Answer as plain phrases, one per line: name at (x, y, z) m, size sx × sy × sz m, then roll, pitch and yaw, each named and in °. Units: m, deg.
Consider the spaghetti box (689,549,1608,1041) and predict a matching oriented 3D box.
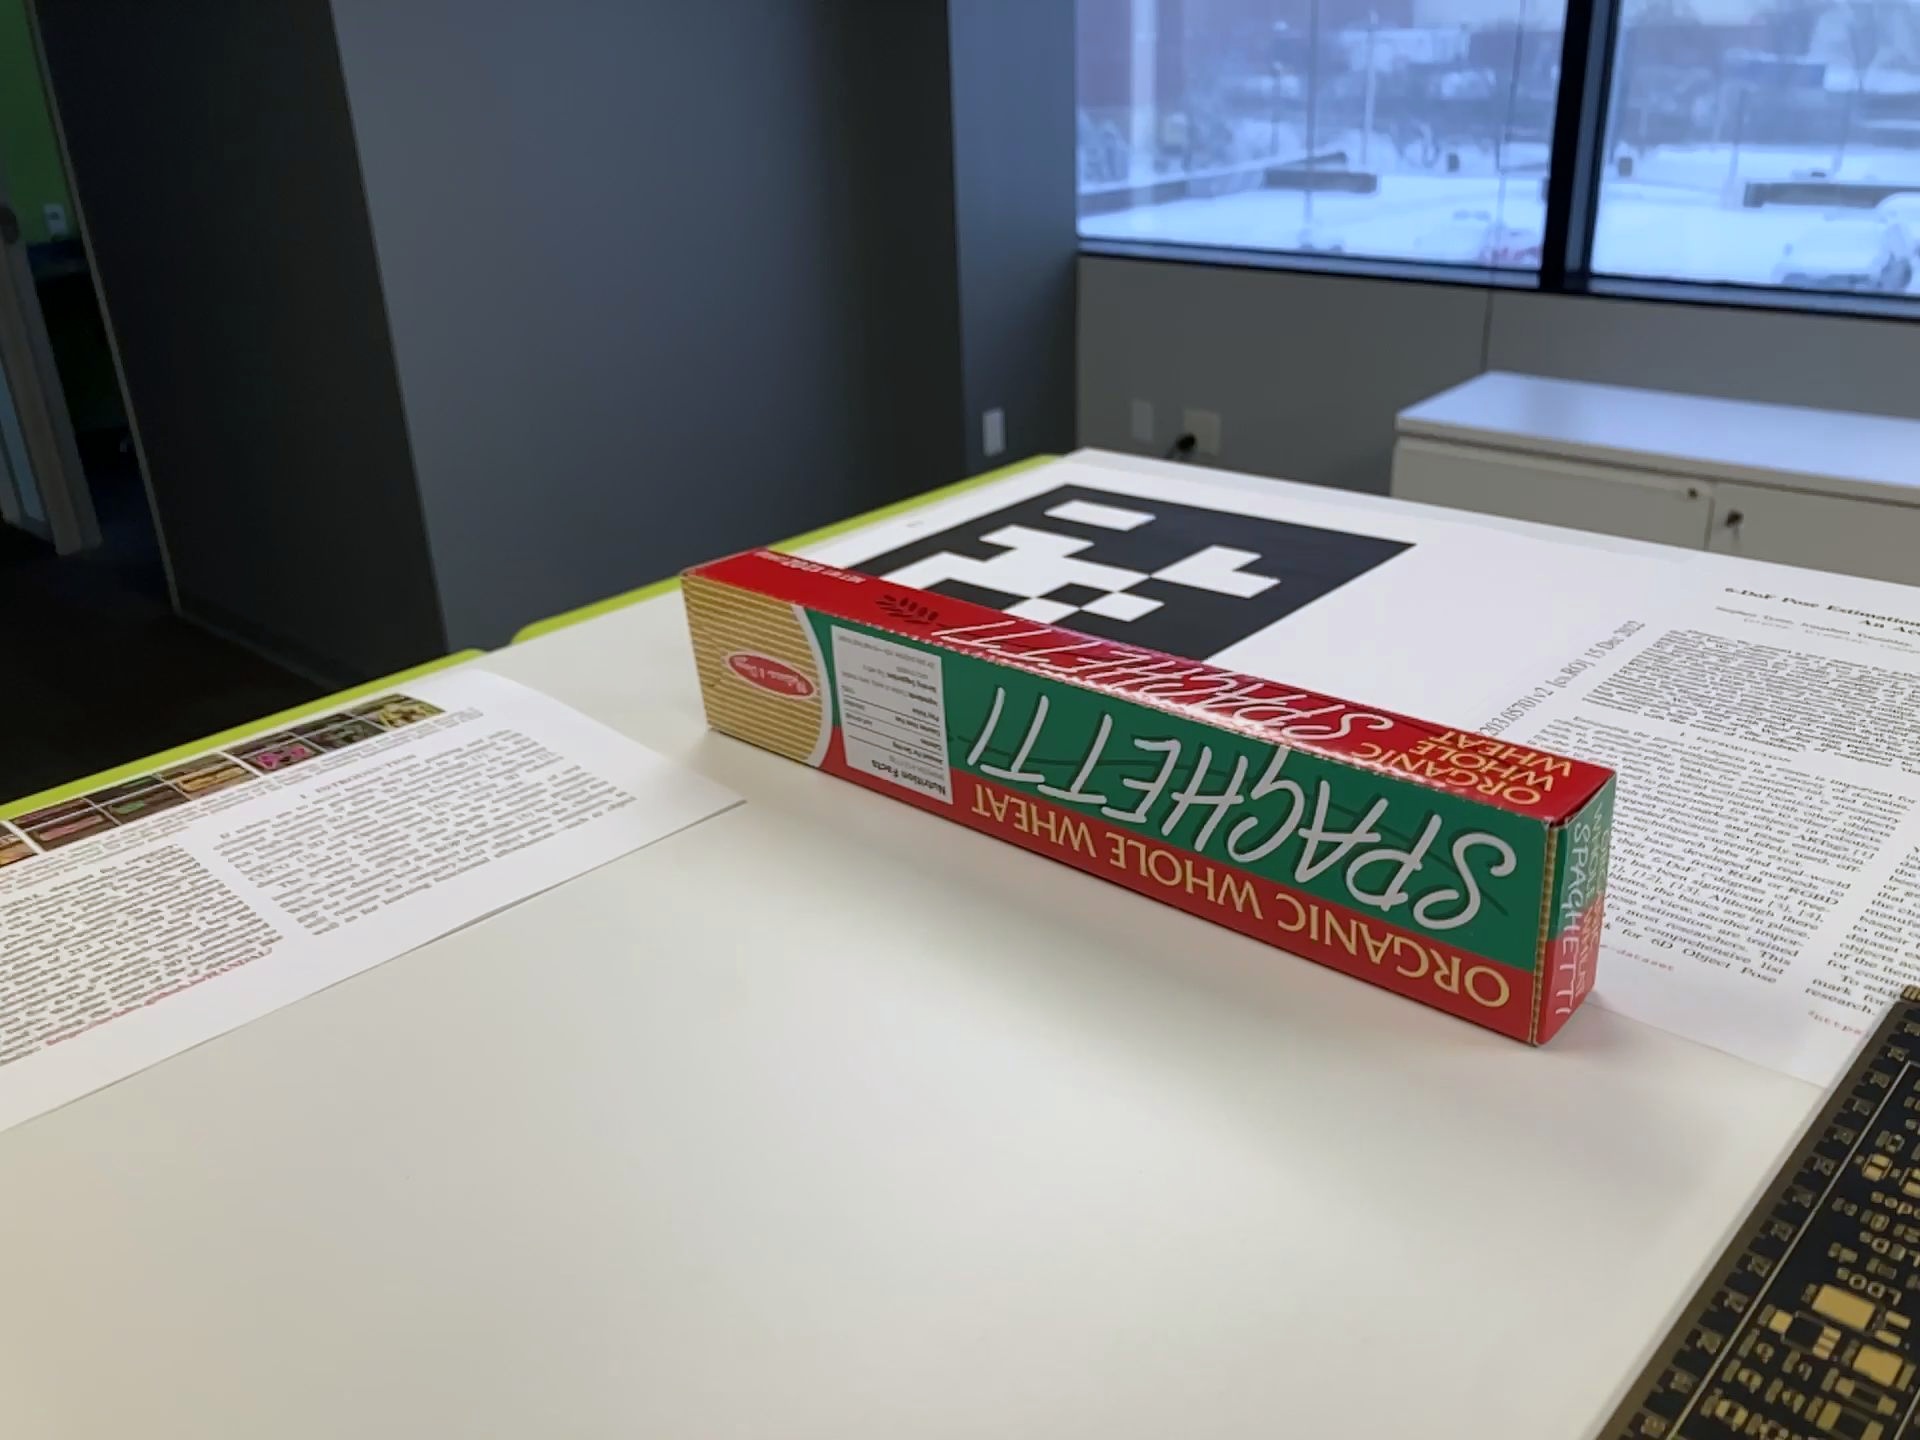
spaghetti box at (0.026, 0.007, 0.377) m, size 0.250 × 0.050 × 0.028 m, roll 18°, pitch 33°, yaw 39°
